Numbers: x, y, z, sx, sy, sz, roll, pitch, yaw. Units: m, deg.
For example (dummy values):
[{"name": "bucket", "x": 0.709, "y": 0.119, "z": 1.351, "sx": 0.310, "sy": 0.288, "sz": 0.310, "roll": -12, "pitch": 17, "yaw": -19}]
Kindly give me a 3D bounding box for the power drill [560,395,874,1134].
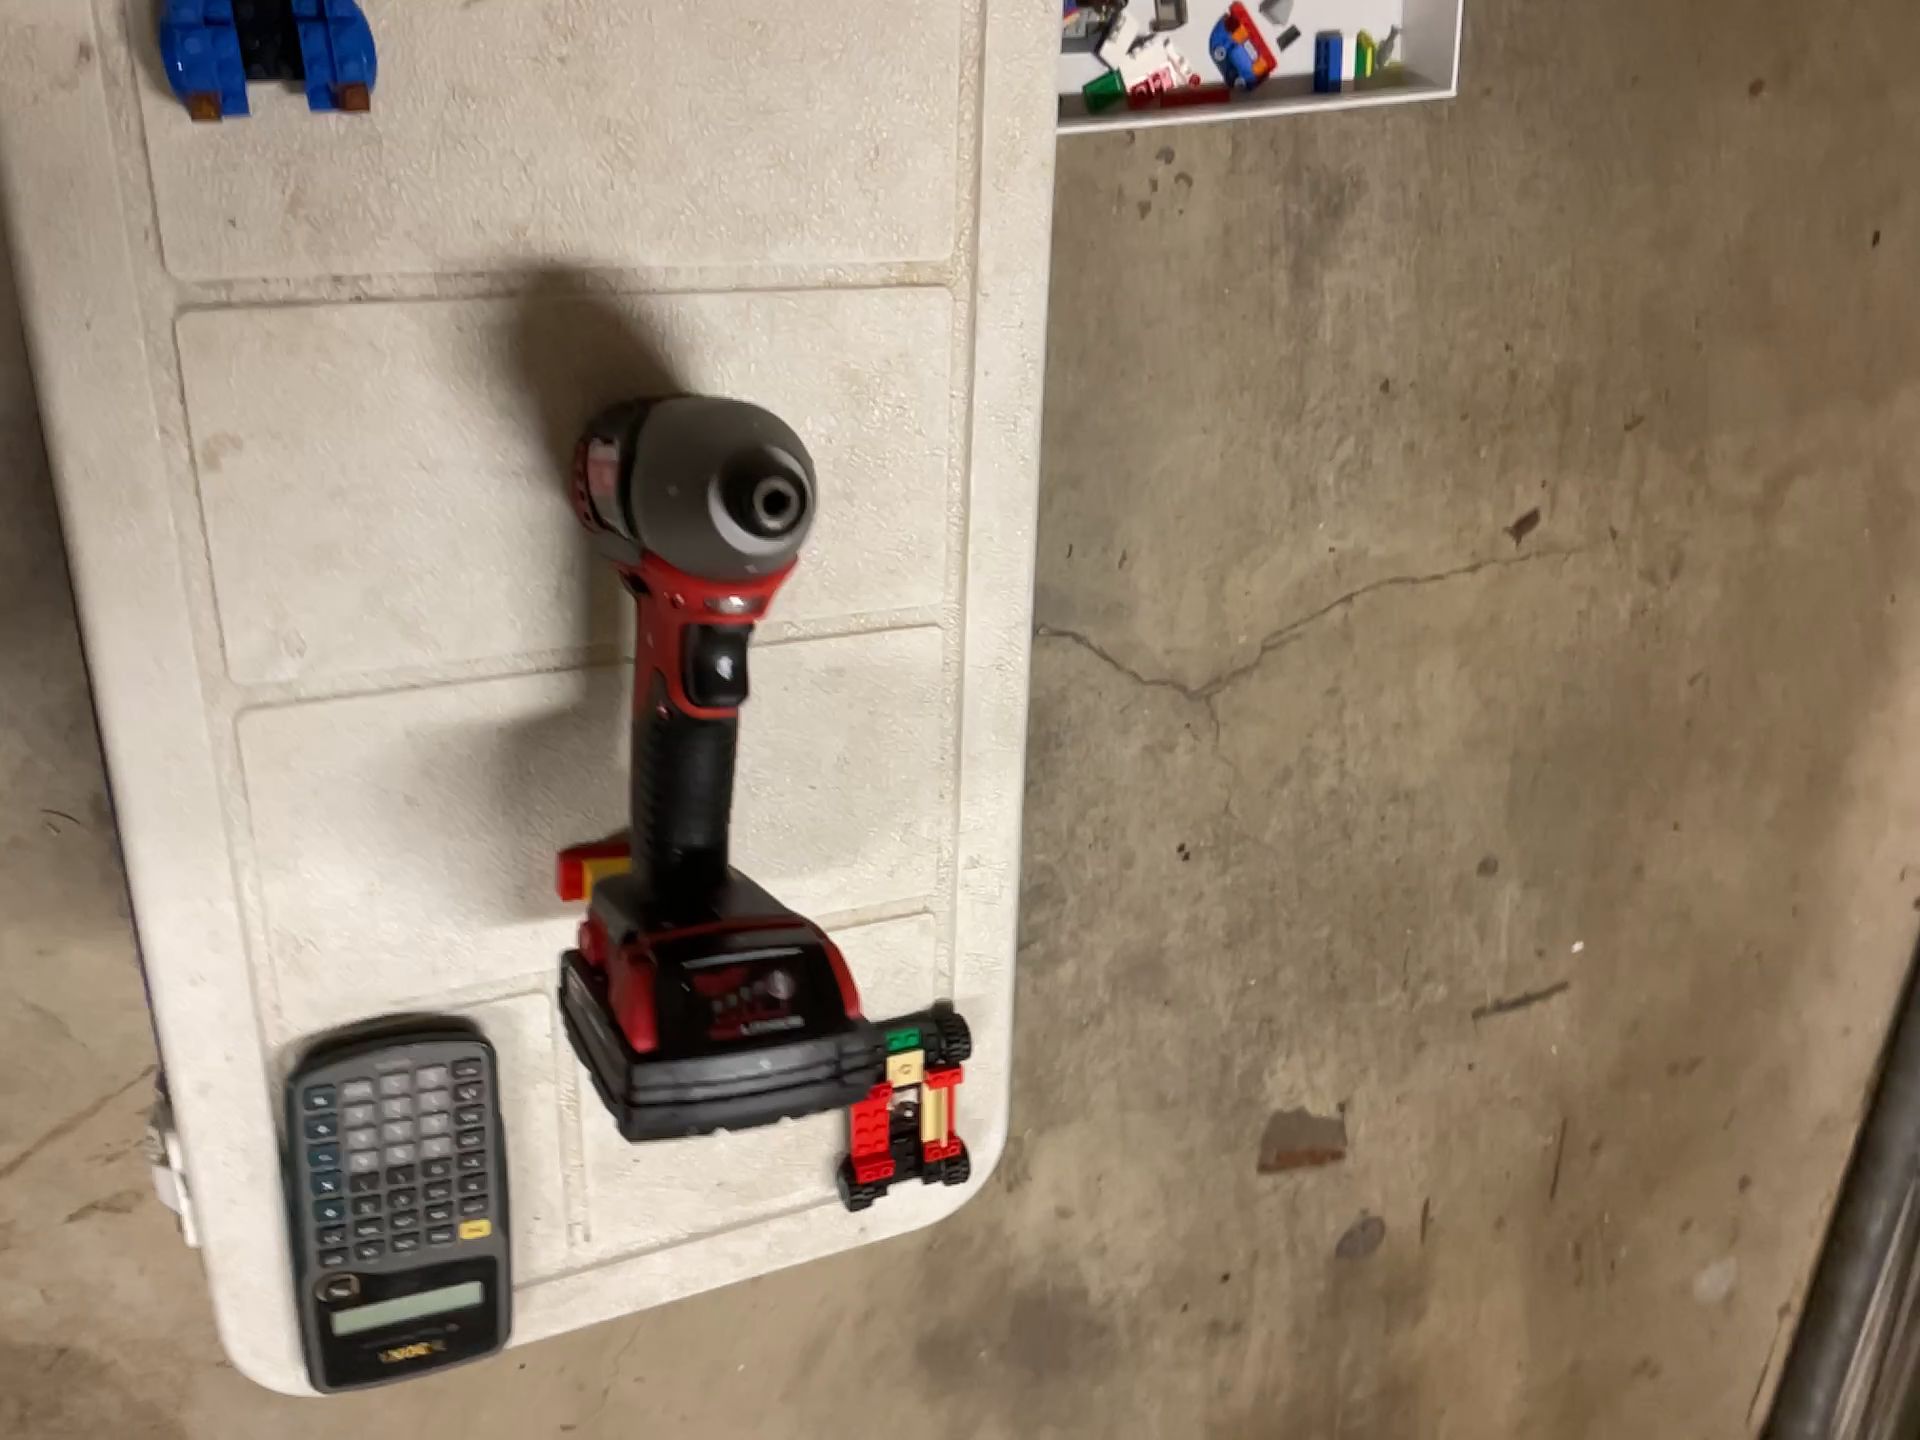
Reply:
[{"name": "power drill", "x": -0.080, "y": 0.008, "z": 0.508, "sx": 0.078, "sy": 0.143, "sz": 0.219, "roll": -4, "pitch": 100, "yaw": -25}]
